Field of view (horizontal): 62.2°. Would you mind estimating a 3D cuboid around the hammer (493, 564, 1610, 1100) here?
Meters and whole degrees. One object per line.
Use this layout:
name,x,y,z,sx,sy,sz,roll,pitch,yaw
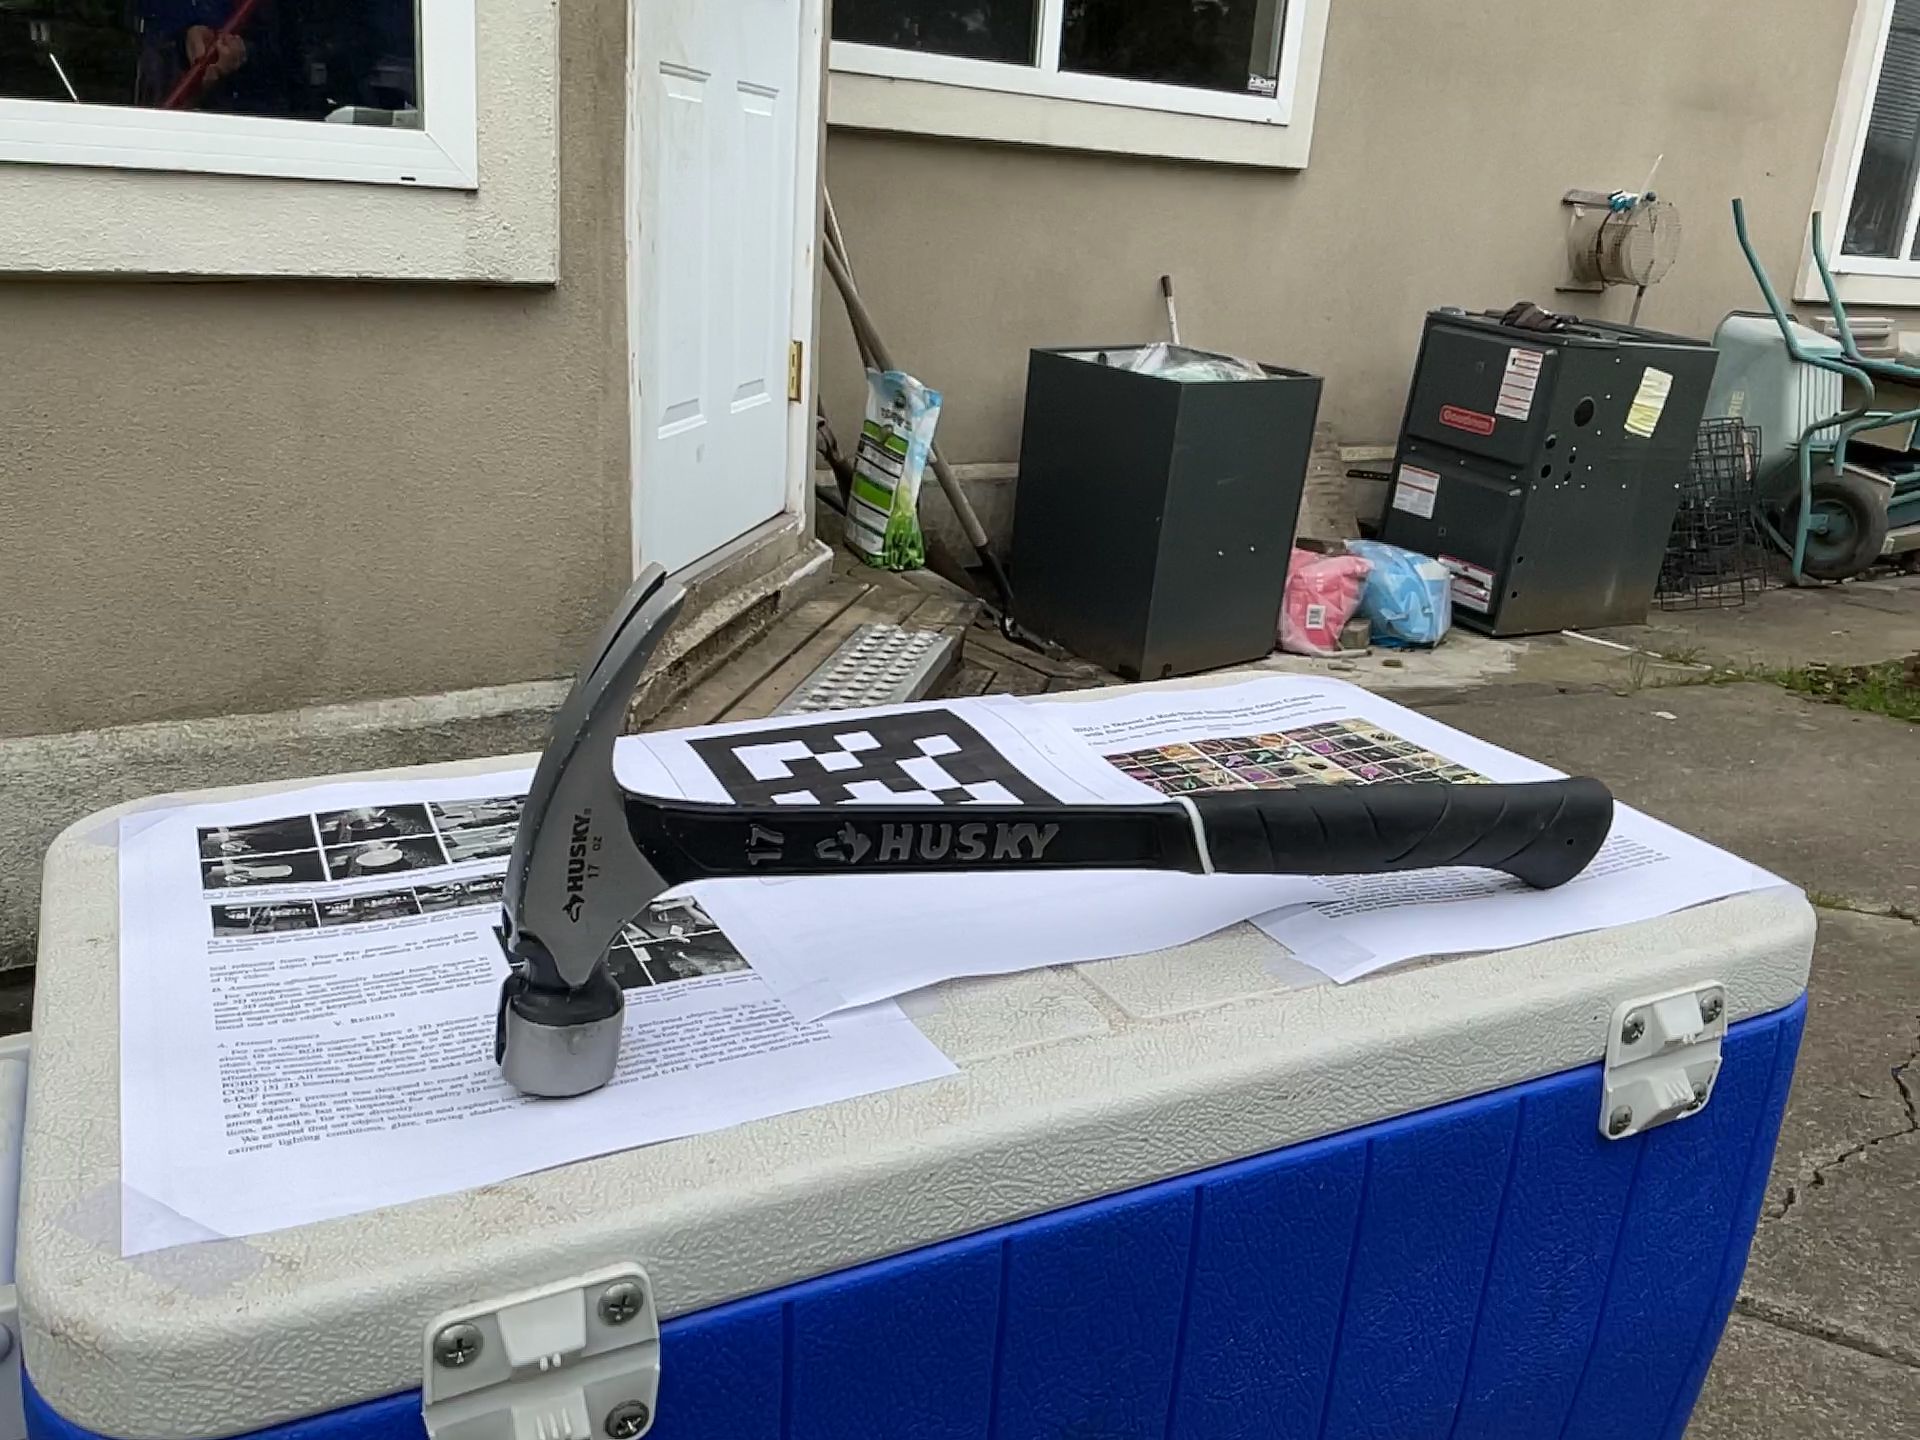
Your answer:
hammer,0.060,0.034,0.523,0.408,0.149,0.036,1,19,-27
